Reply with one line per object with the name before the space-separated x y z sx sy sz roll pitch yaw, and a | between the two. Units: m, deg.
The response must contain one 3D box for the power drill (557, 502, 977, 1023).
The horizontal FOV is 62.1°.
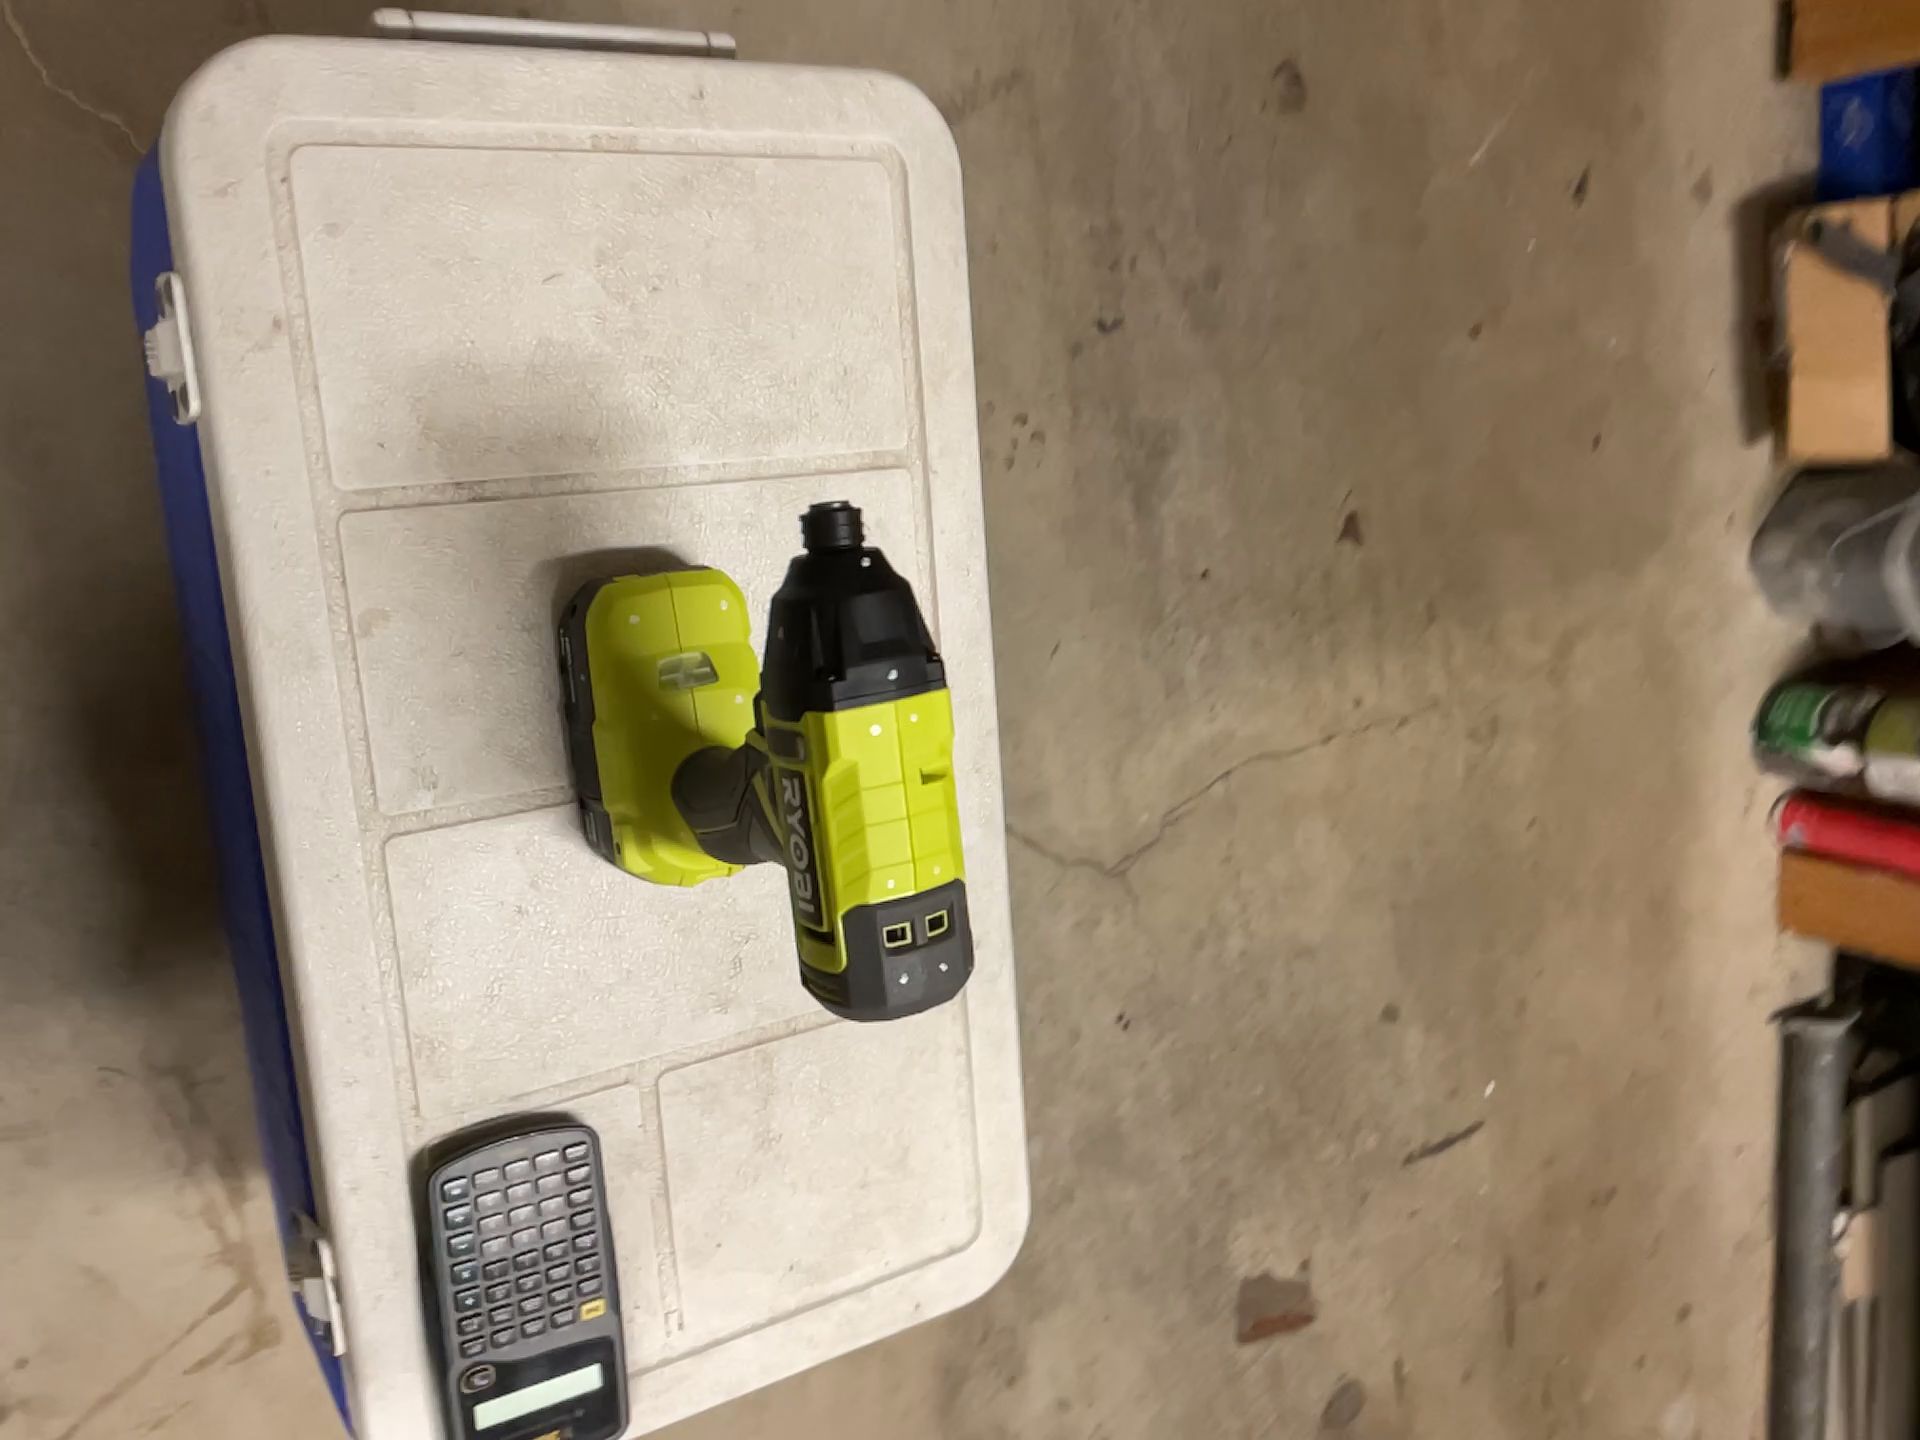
power drill | -0.077 0.005 0.610 0.080 0.223 0.171 -13 102 -31
